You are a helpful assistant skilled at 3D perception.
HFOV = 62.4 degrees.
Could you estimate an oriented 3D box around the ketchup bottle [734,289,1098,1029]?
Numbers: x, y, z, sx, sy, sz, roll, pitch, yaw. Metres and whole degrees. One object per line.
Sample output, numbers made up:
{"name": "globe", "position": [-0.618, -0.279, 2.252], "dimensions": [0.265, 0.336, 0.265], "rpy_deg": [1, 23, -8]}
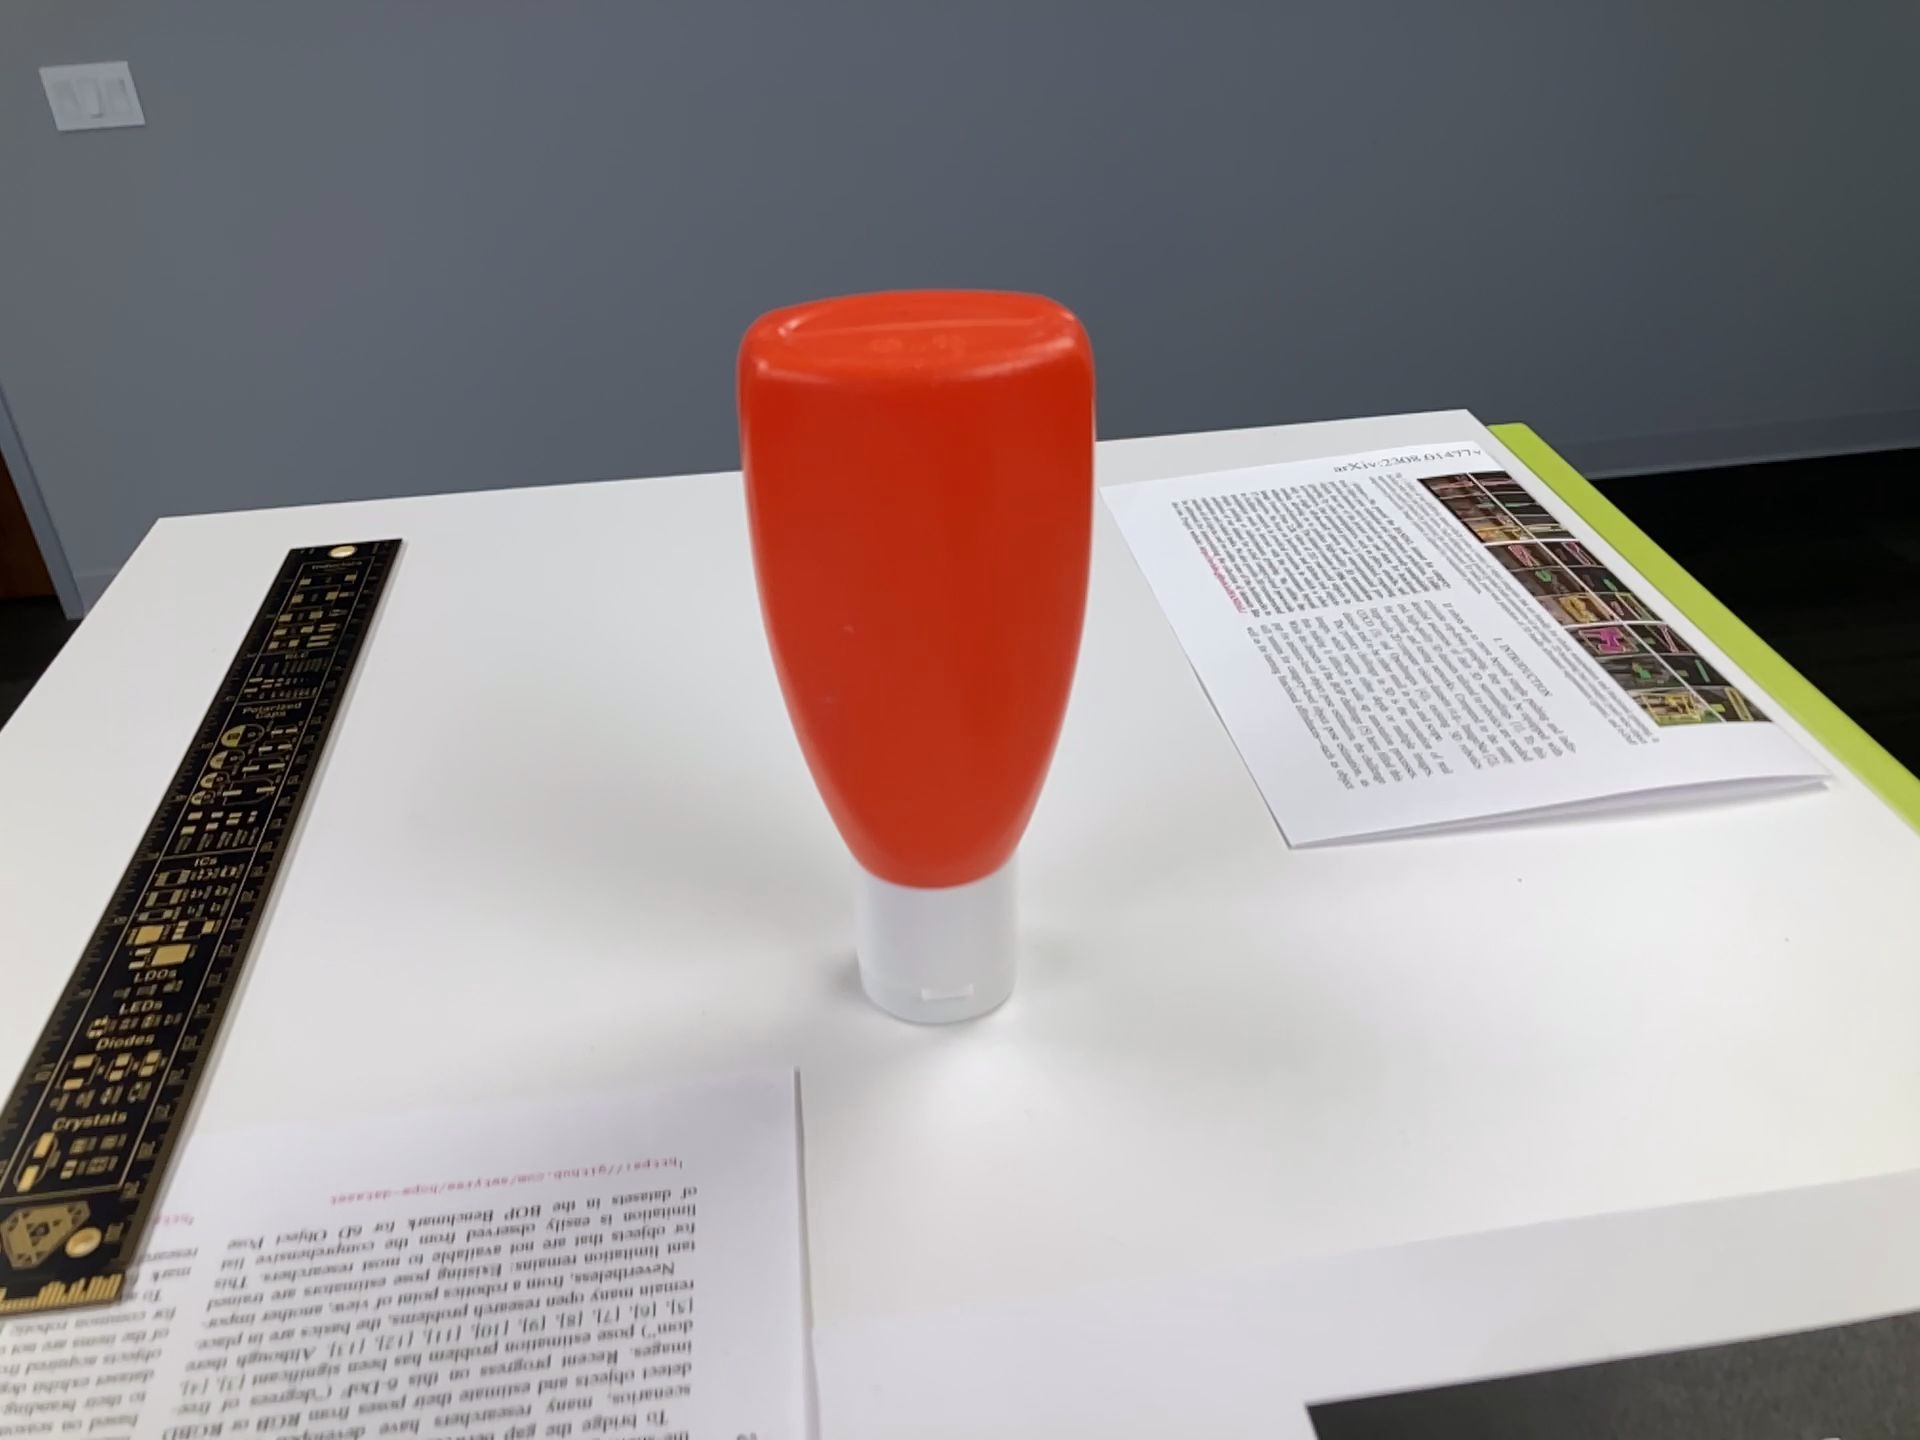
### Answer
{"name": "ketchup bottle", "position": [-0.006, -0.006, 0.311], "dimensions": [0.065, 0.149, 0.043], "rpy_deg": [-5, 32, -5]}
